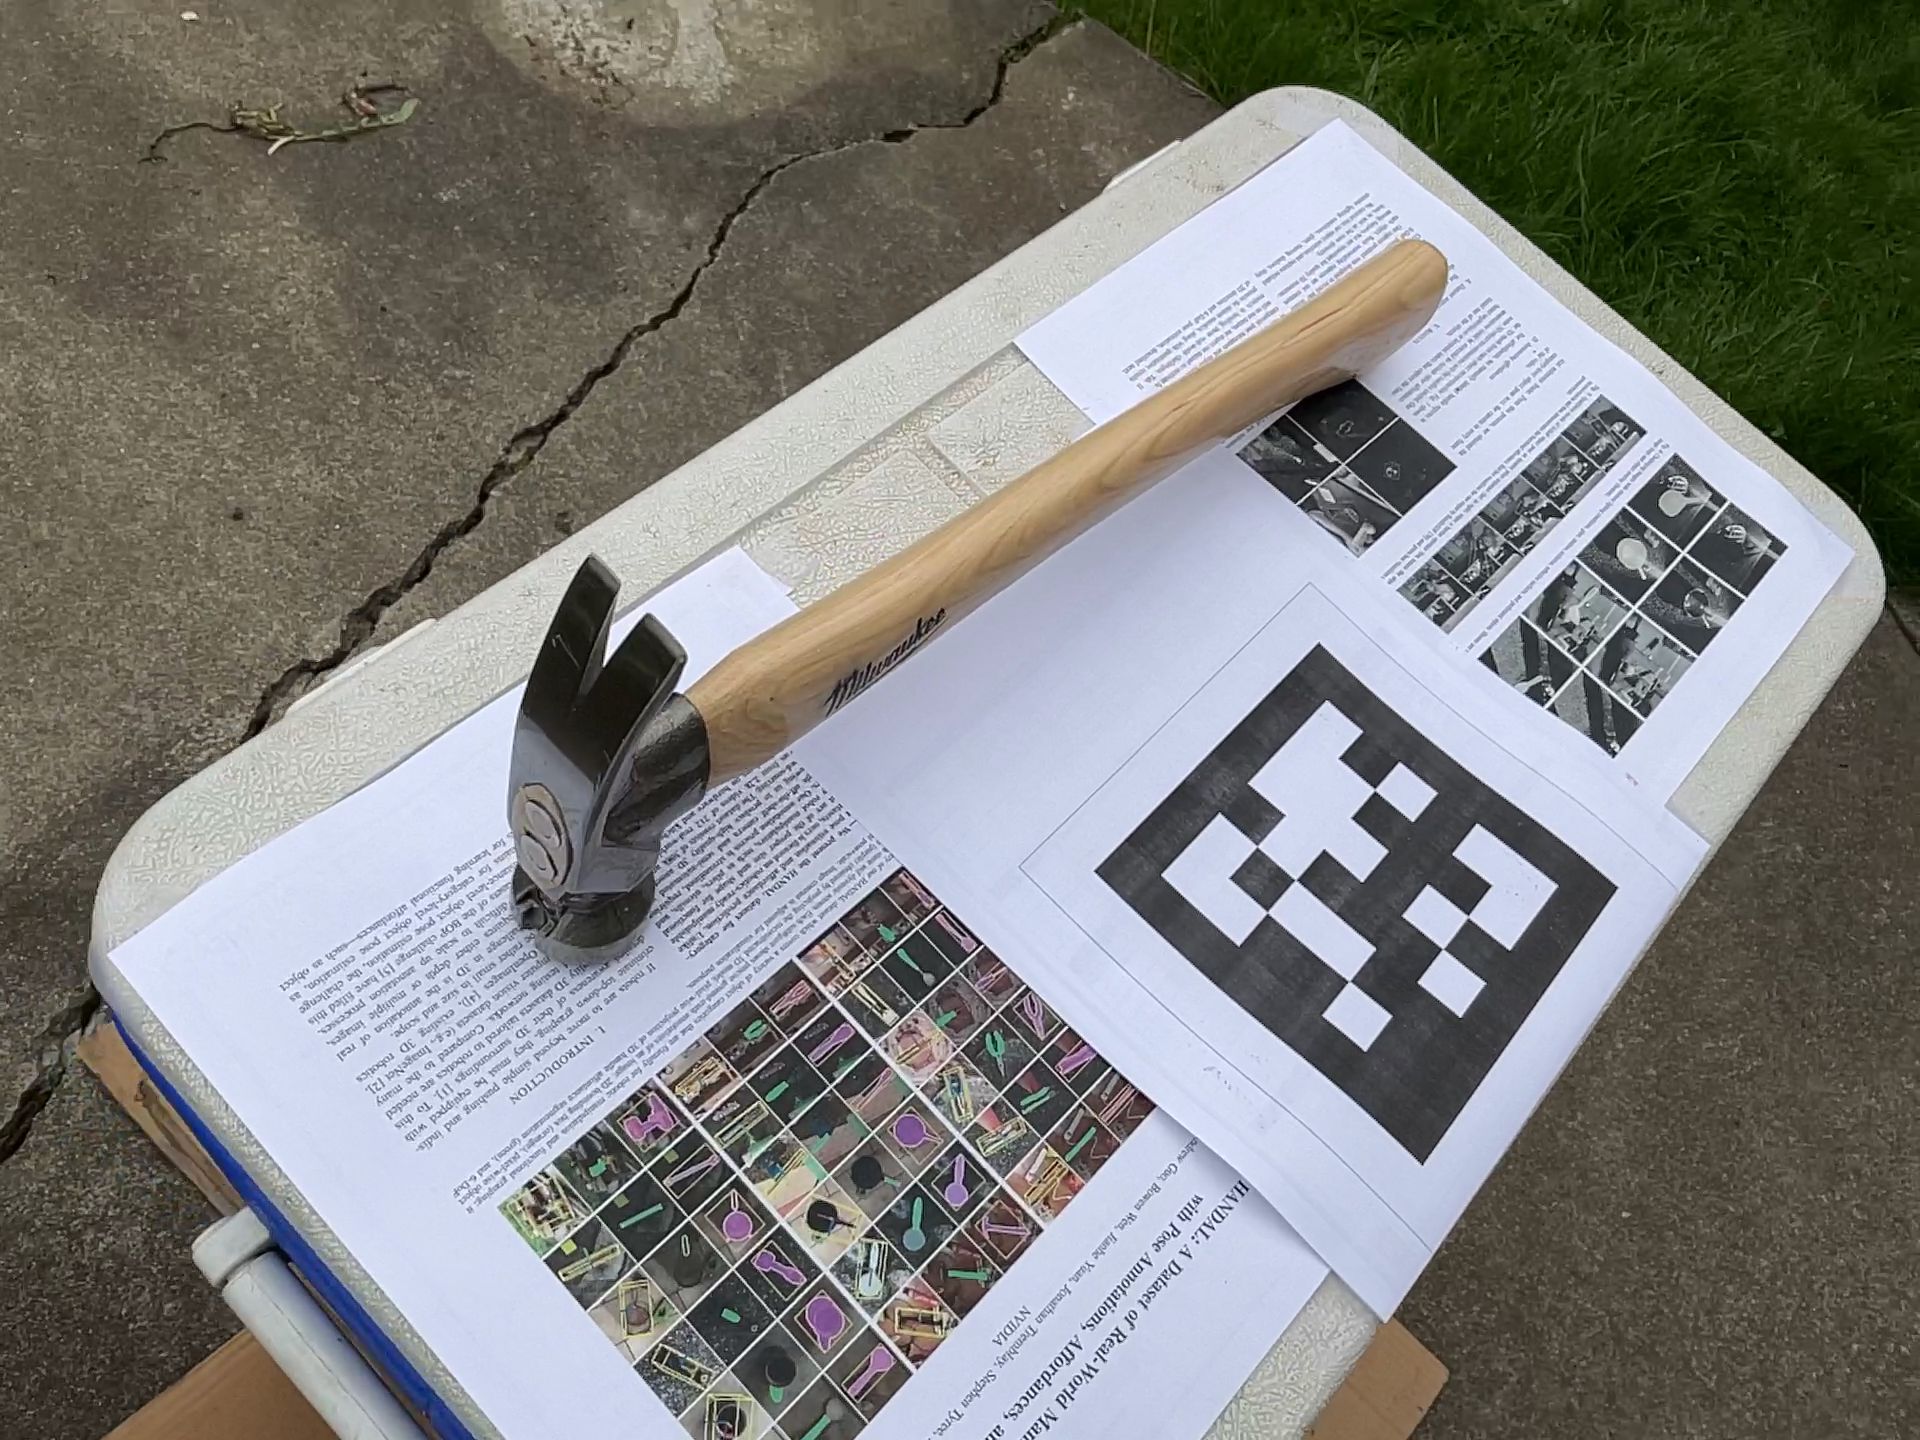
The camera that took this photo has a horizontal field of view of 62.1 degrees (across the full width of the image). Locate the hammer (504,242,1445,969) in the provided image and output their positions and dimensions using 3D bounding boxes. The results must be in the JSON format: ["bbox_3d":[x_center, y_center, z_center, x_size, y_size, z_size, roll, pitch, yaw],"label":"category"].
[{"bbox_3d":[0.039,-0.076,0.491,0.038,0.146,0.410,46,55,12],"label":"hammer"}]
